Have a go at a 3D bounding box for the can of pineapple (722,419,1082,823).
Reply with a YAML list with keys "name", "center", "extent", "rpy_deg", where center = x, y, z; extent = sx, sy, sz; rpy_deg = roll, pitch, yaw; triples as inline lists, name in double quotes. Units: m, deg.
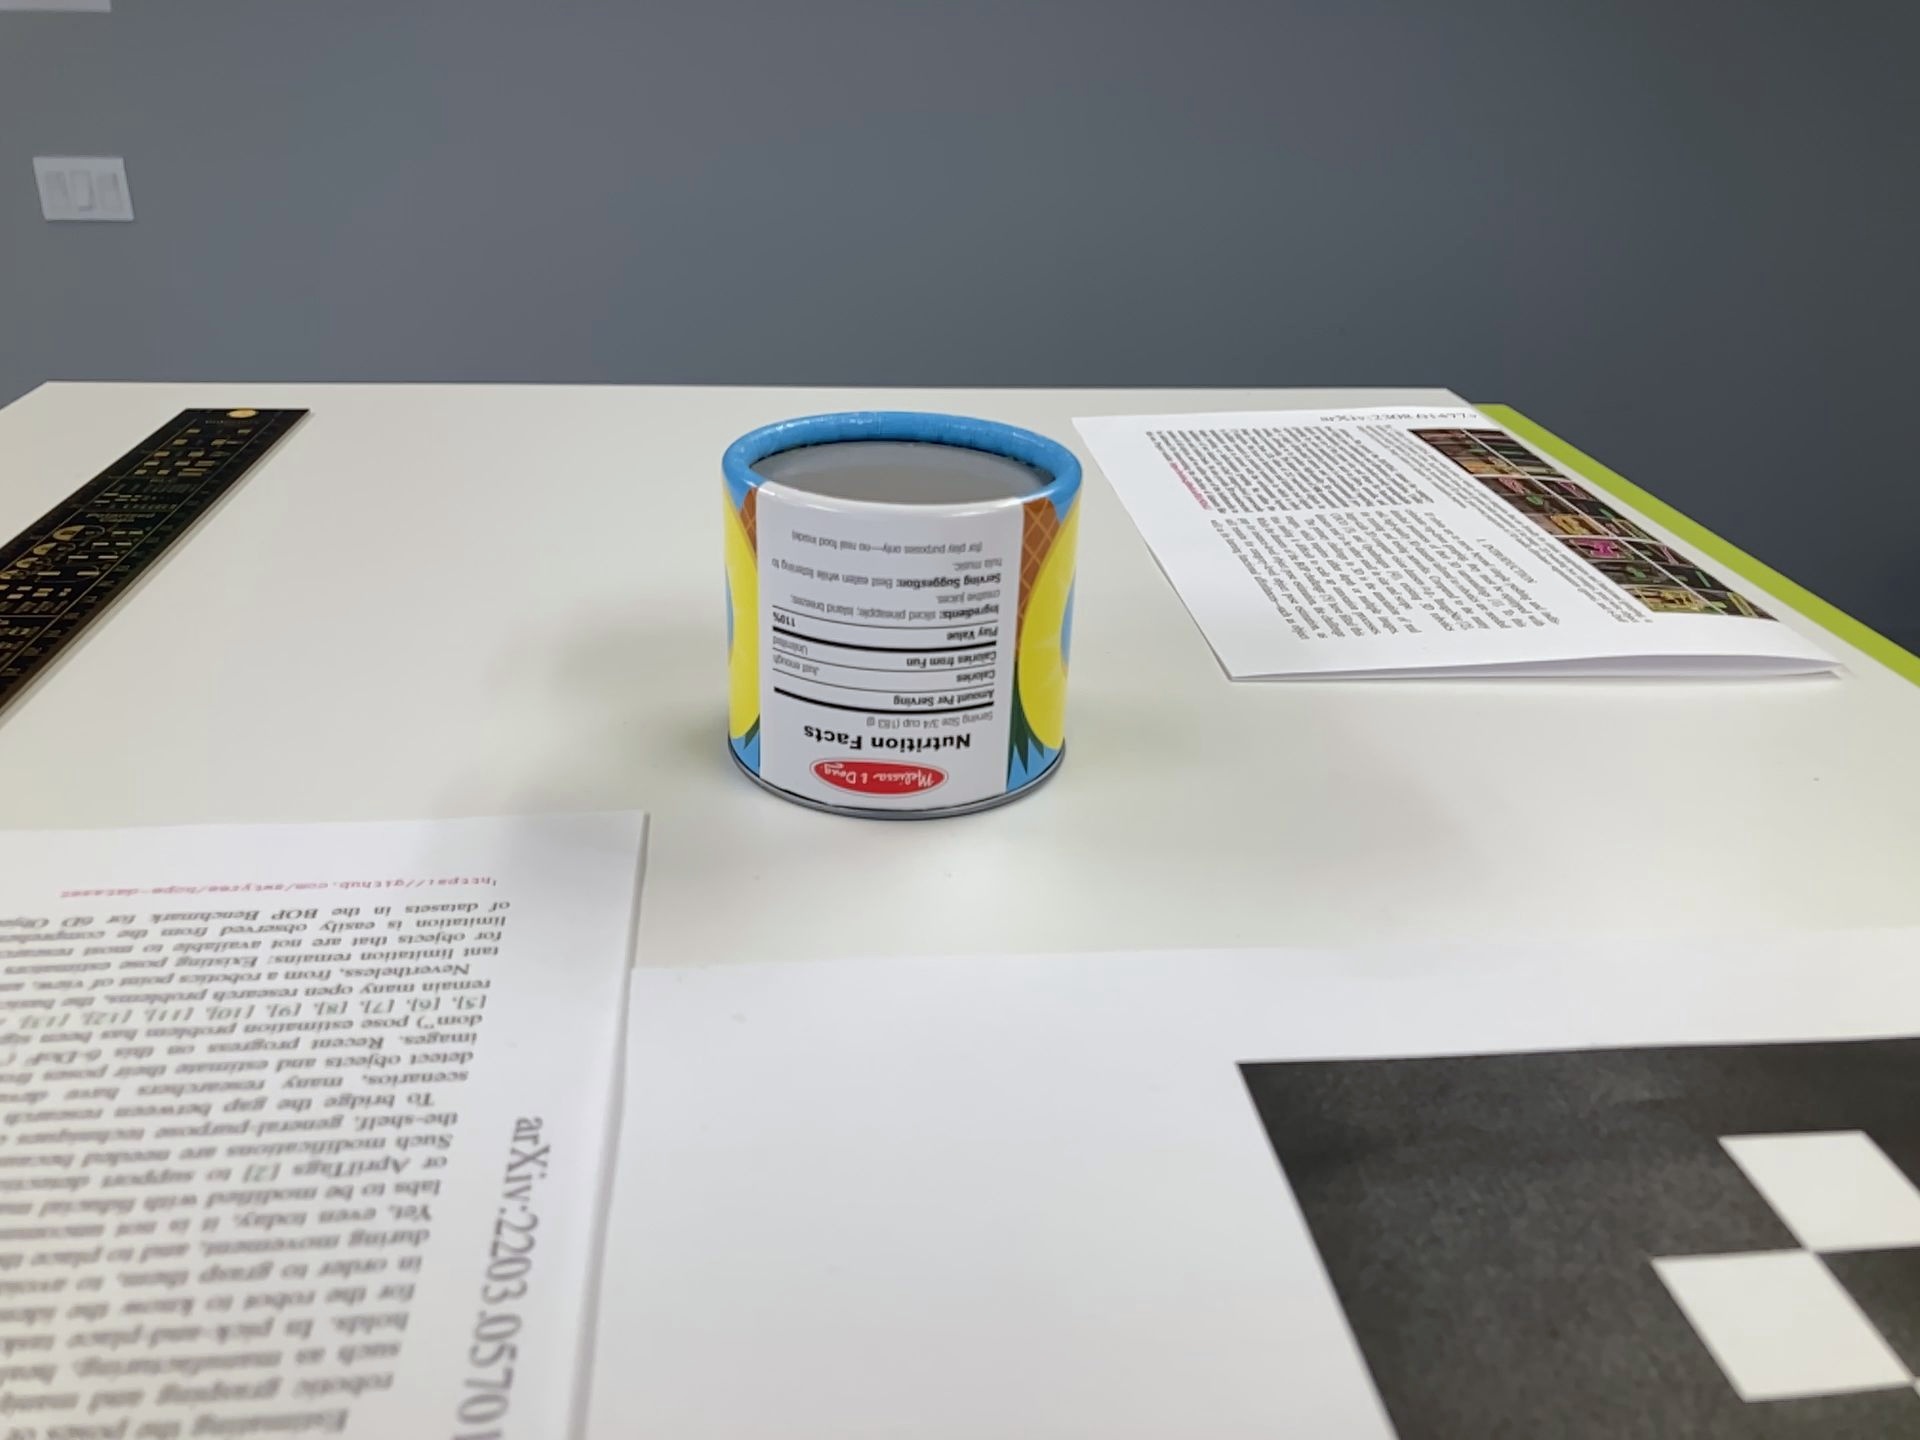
- name: "can of pineapple"
  center: [-0.011, -0.022, 0.301]
  extent: [0.071, 0.058, 0.071]
  rpy_deg: [2, 25, -1]
